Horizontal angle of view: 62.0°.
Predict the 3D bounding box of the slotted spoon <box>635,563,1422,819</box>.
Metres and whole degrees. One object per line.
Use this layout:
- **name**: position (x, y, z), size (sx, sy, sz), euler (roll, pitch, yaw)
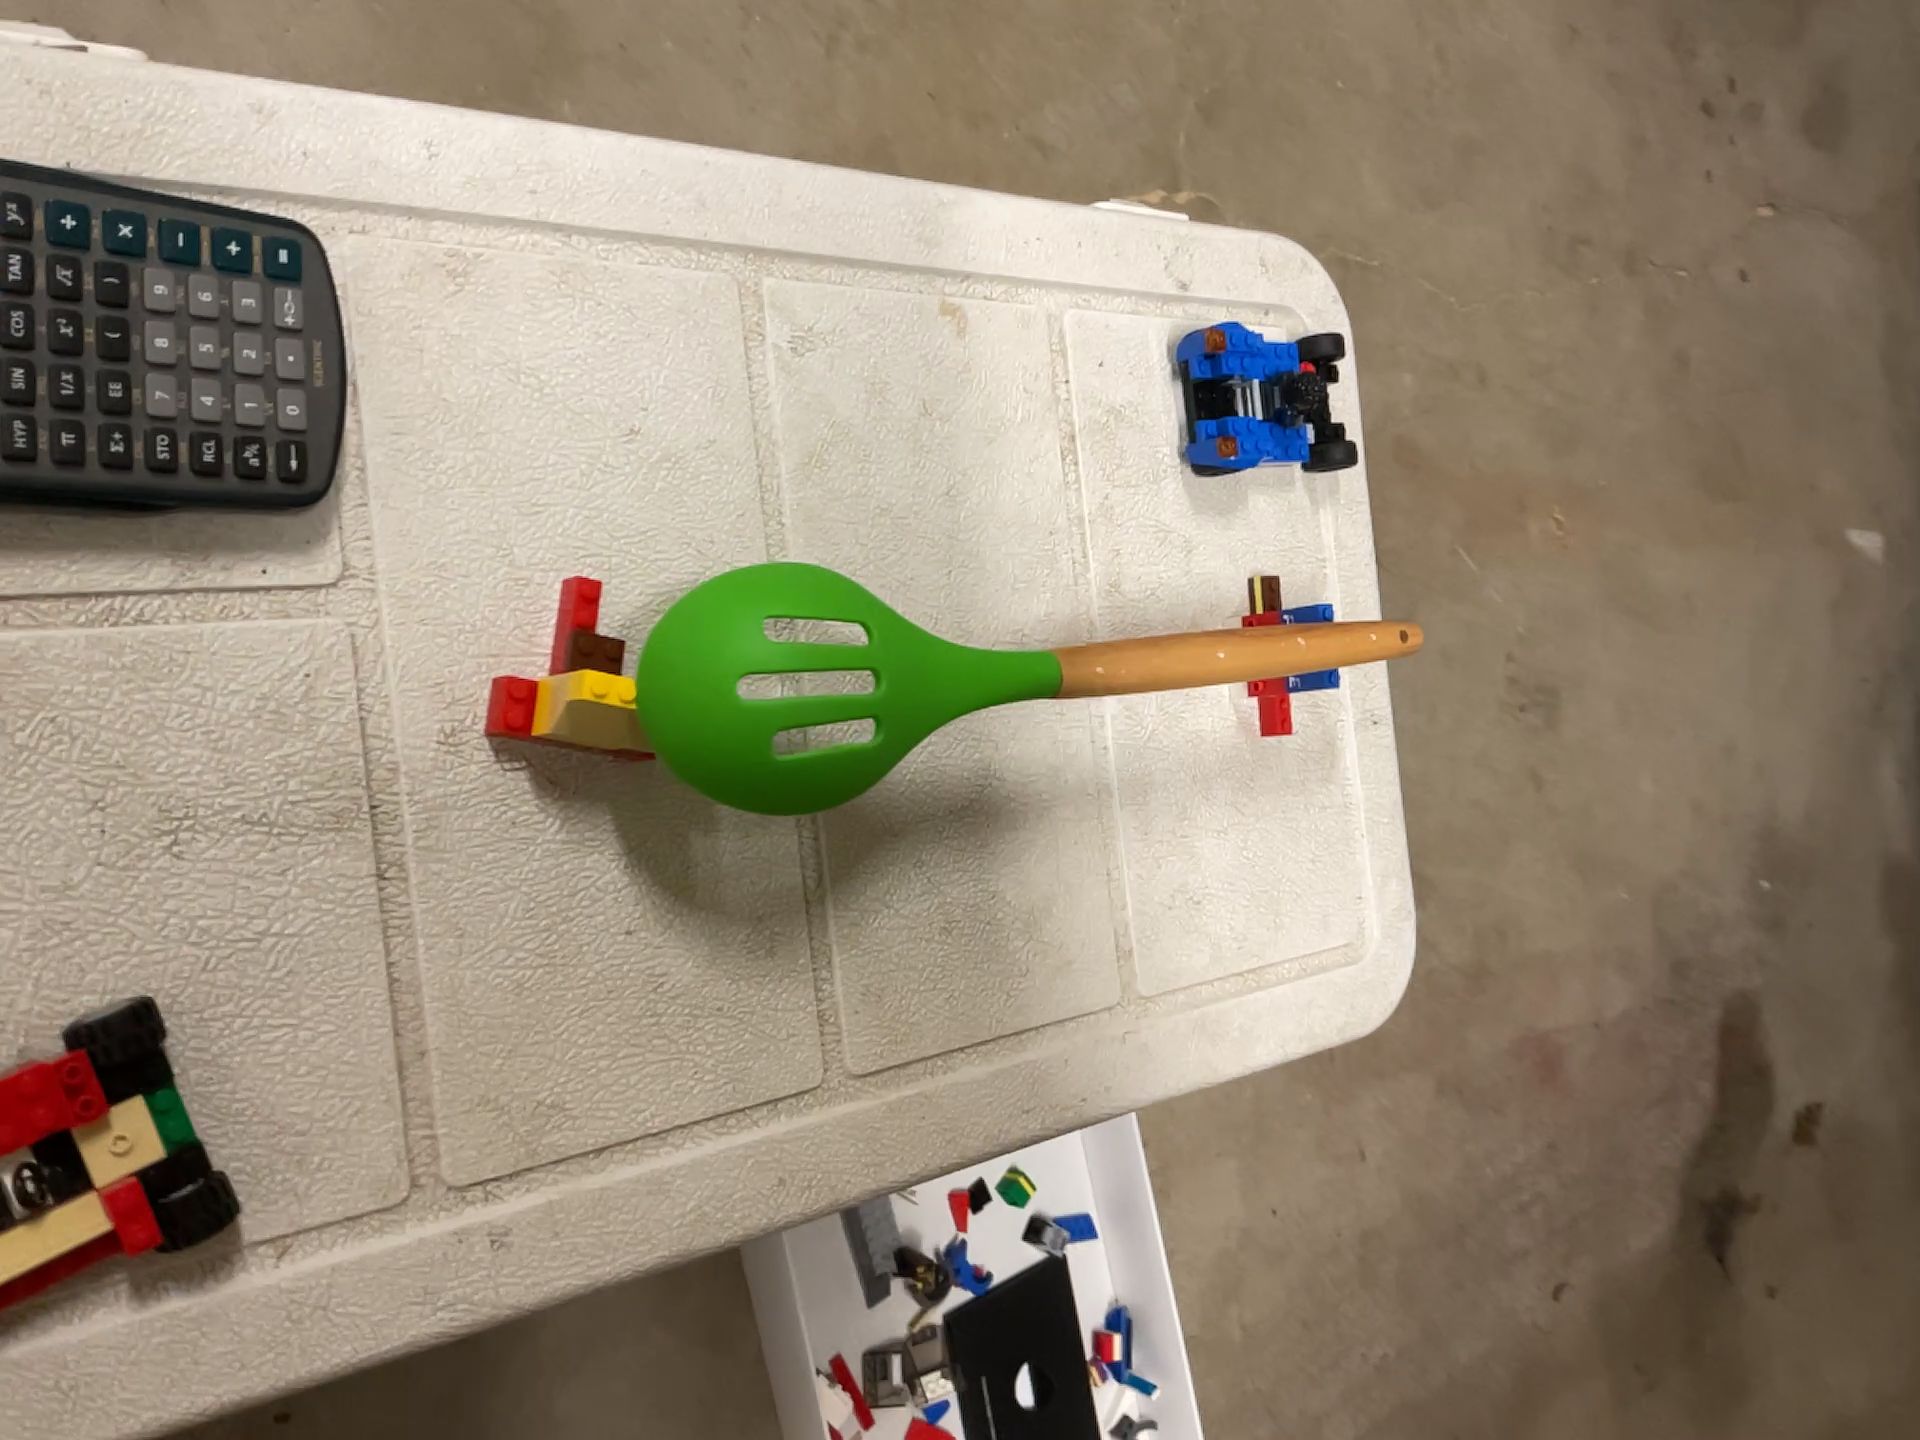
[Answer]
- **slotted spoon**: position (0.046, -0.019, 0.507), size (0.313, 0.031, 0.070), euler (-6, 89, -38)
